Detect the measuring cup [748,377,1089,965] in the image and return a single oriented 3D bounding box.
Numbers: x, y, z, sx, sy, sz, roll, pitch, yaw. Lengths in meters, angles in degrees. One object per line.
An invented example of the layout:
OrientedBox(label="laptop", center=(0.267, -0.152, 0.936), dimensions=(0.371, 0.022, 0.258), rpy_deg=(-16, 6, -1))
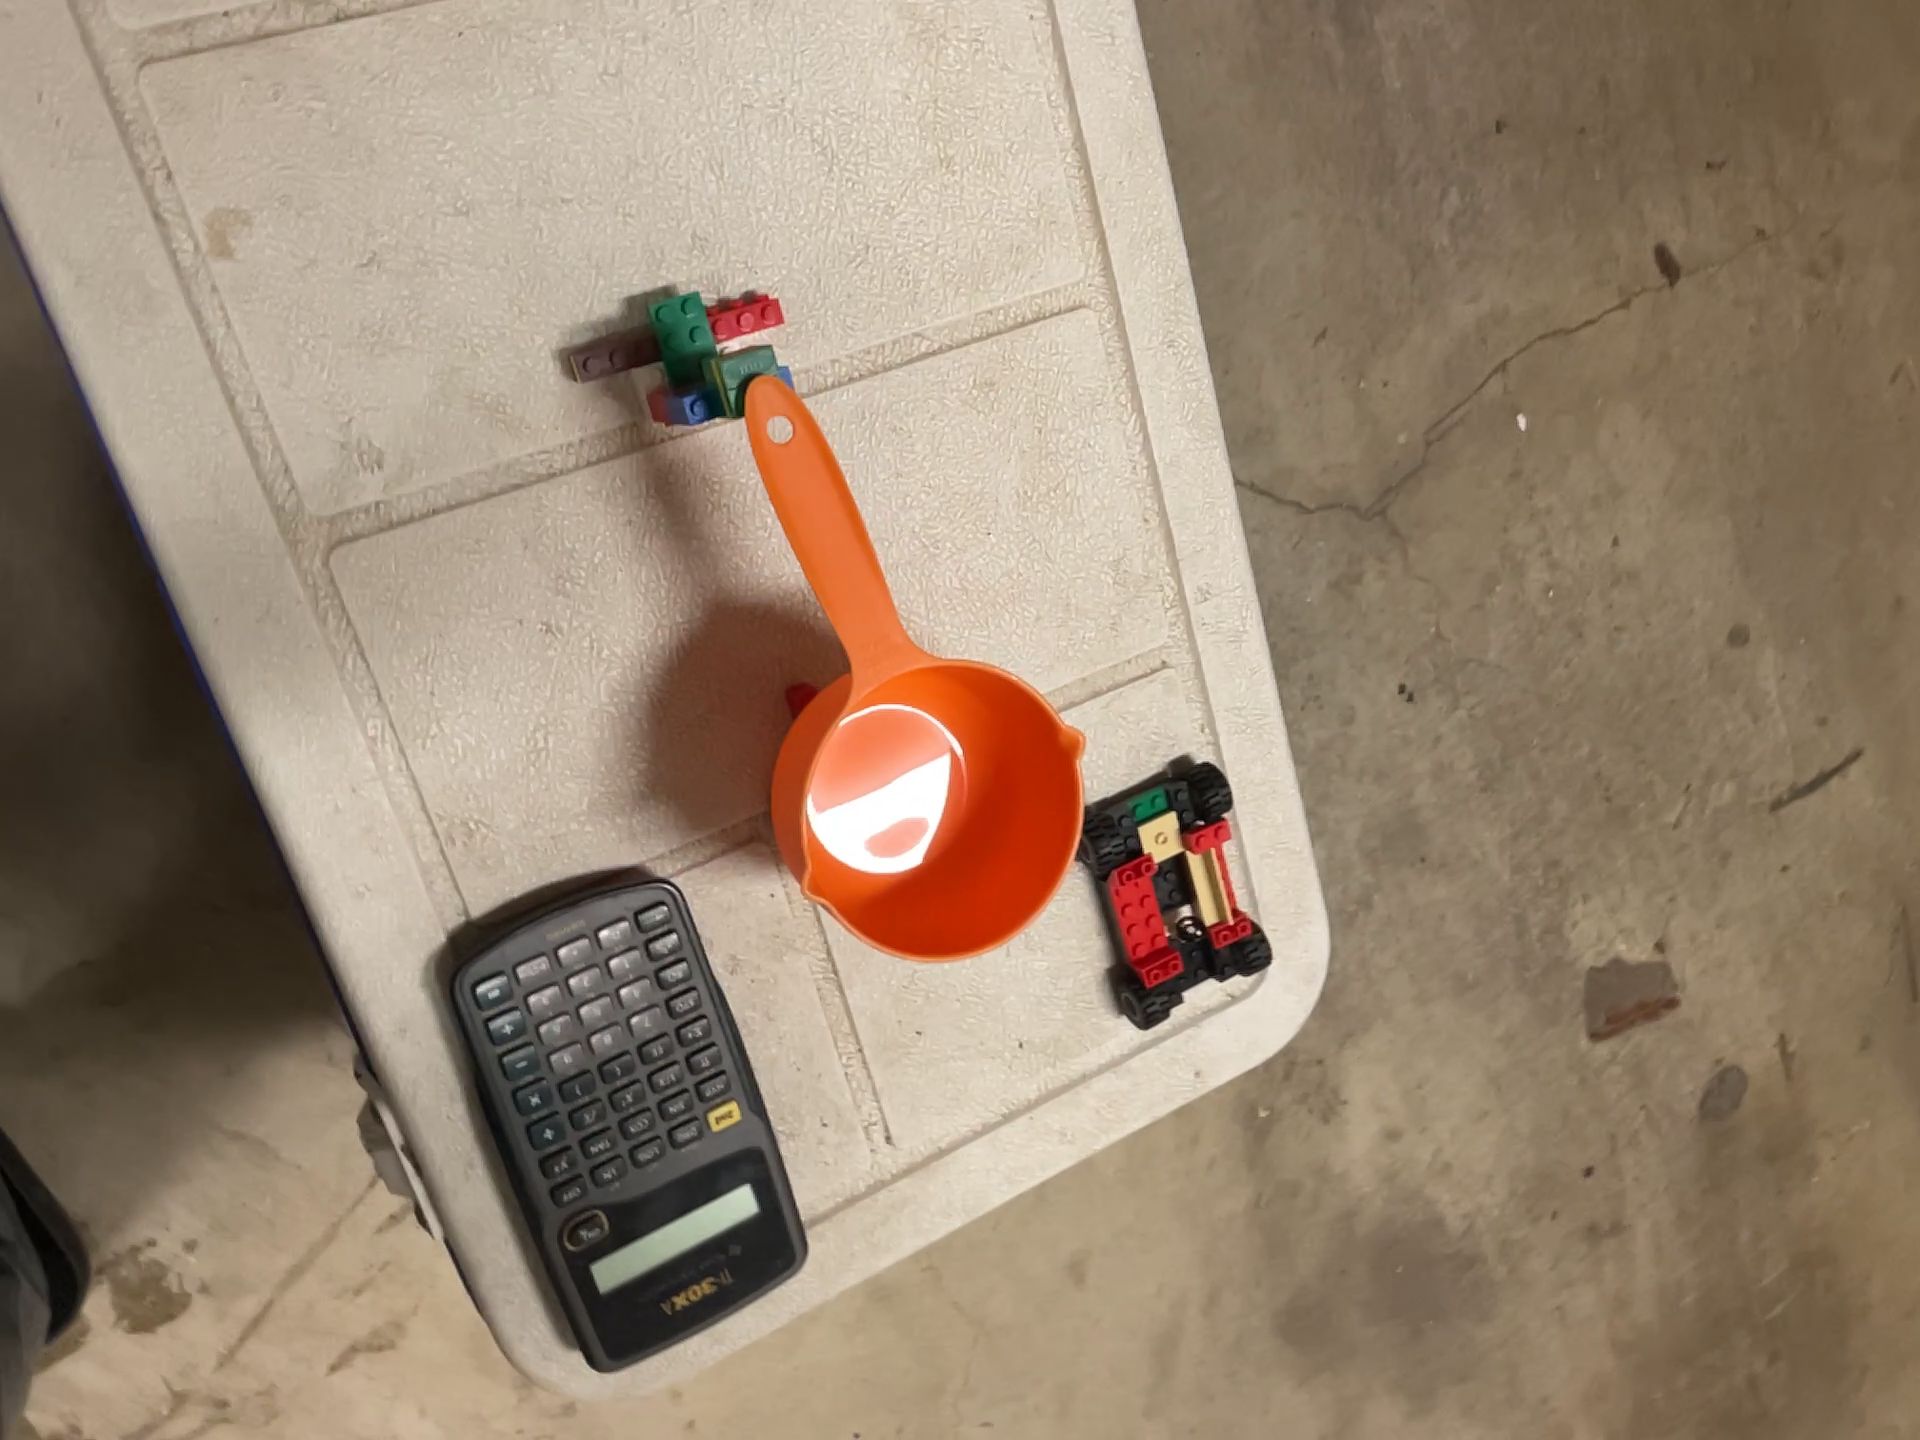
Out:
OrientedBox(label="measuring cup", center=(-0.029, -0.014, 0.461), dimensions=(0.095, 0.052, 0.173), rpy_deg=(-28, 105, -19))
